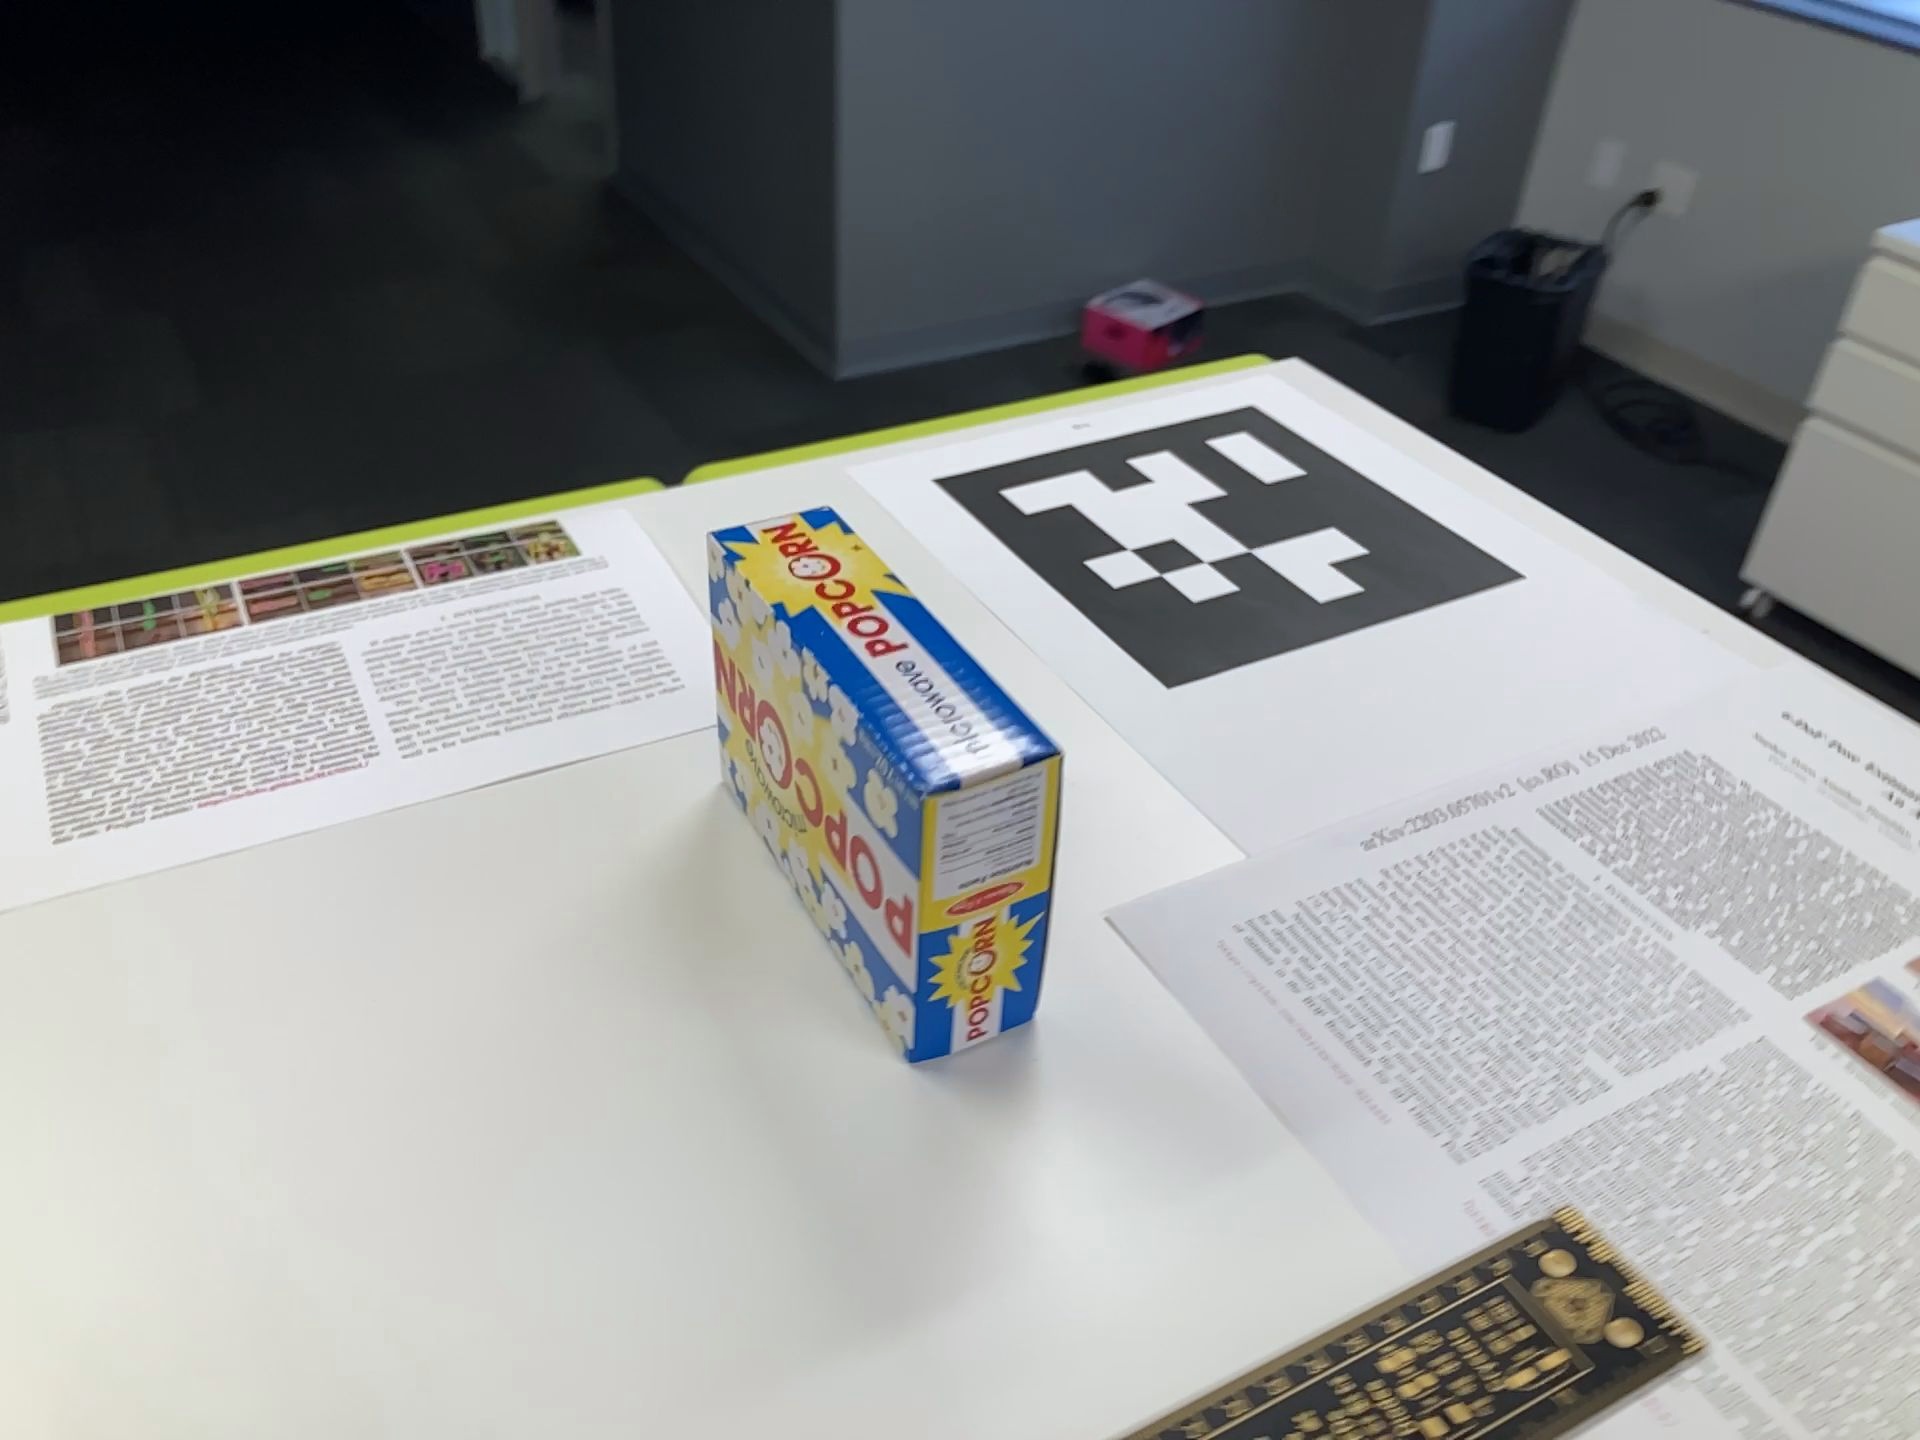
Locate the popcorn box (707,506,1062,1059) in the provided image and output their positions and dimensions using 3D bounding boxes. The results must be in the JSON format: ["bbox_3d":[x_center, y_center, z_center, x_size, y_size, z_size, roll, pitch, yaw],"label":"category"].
[{"bbox_3d":[-0.024,0.012,0.409,0.038,0.085,0.126,-17,41,-24],"label":"popcorn box"}]
